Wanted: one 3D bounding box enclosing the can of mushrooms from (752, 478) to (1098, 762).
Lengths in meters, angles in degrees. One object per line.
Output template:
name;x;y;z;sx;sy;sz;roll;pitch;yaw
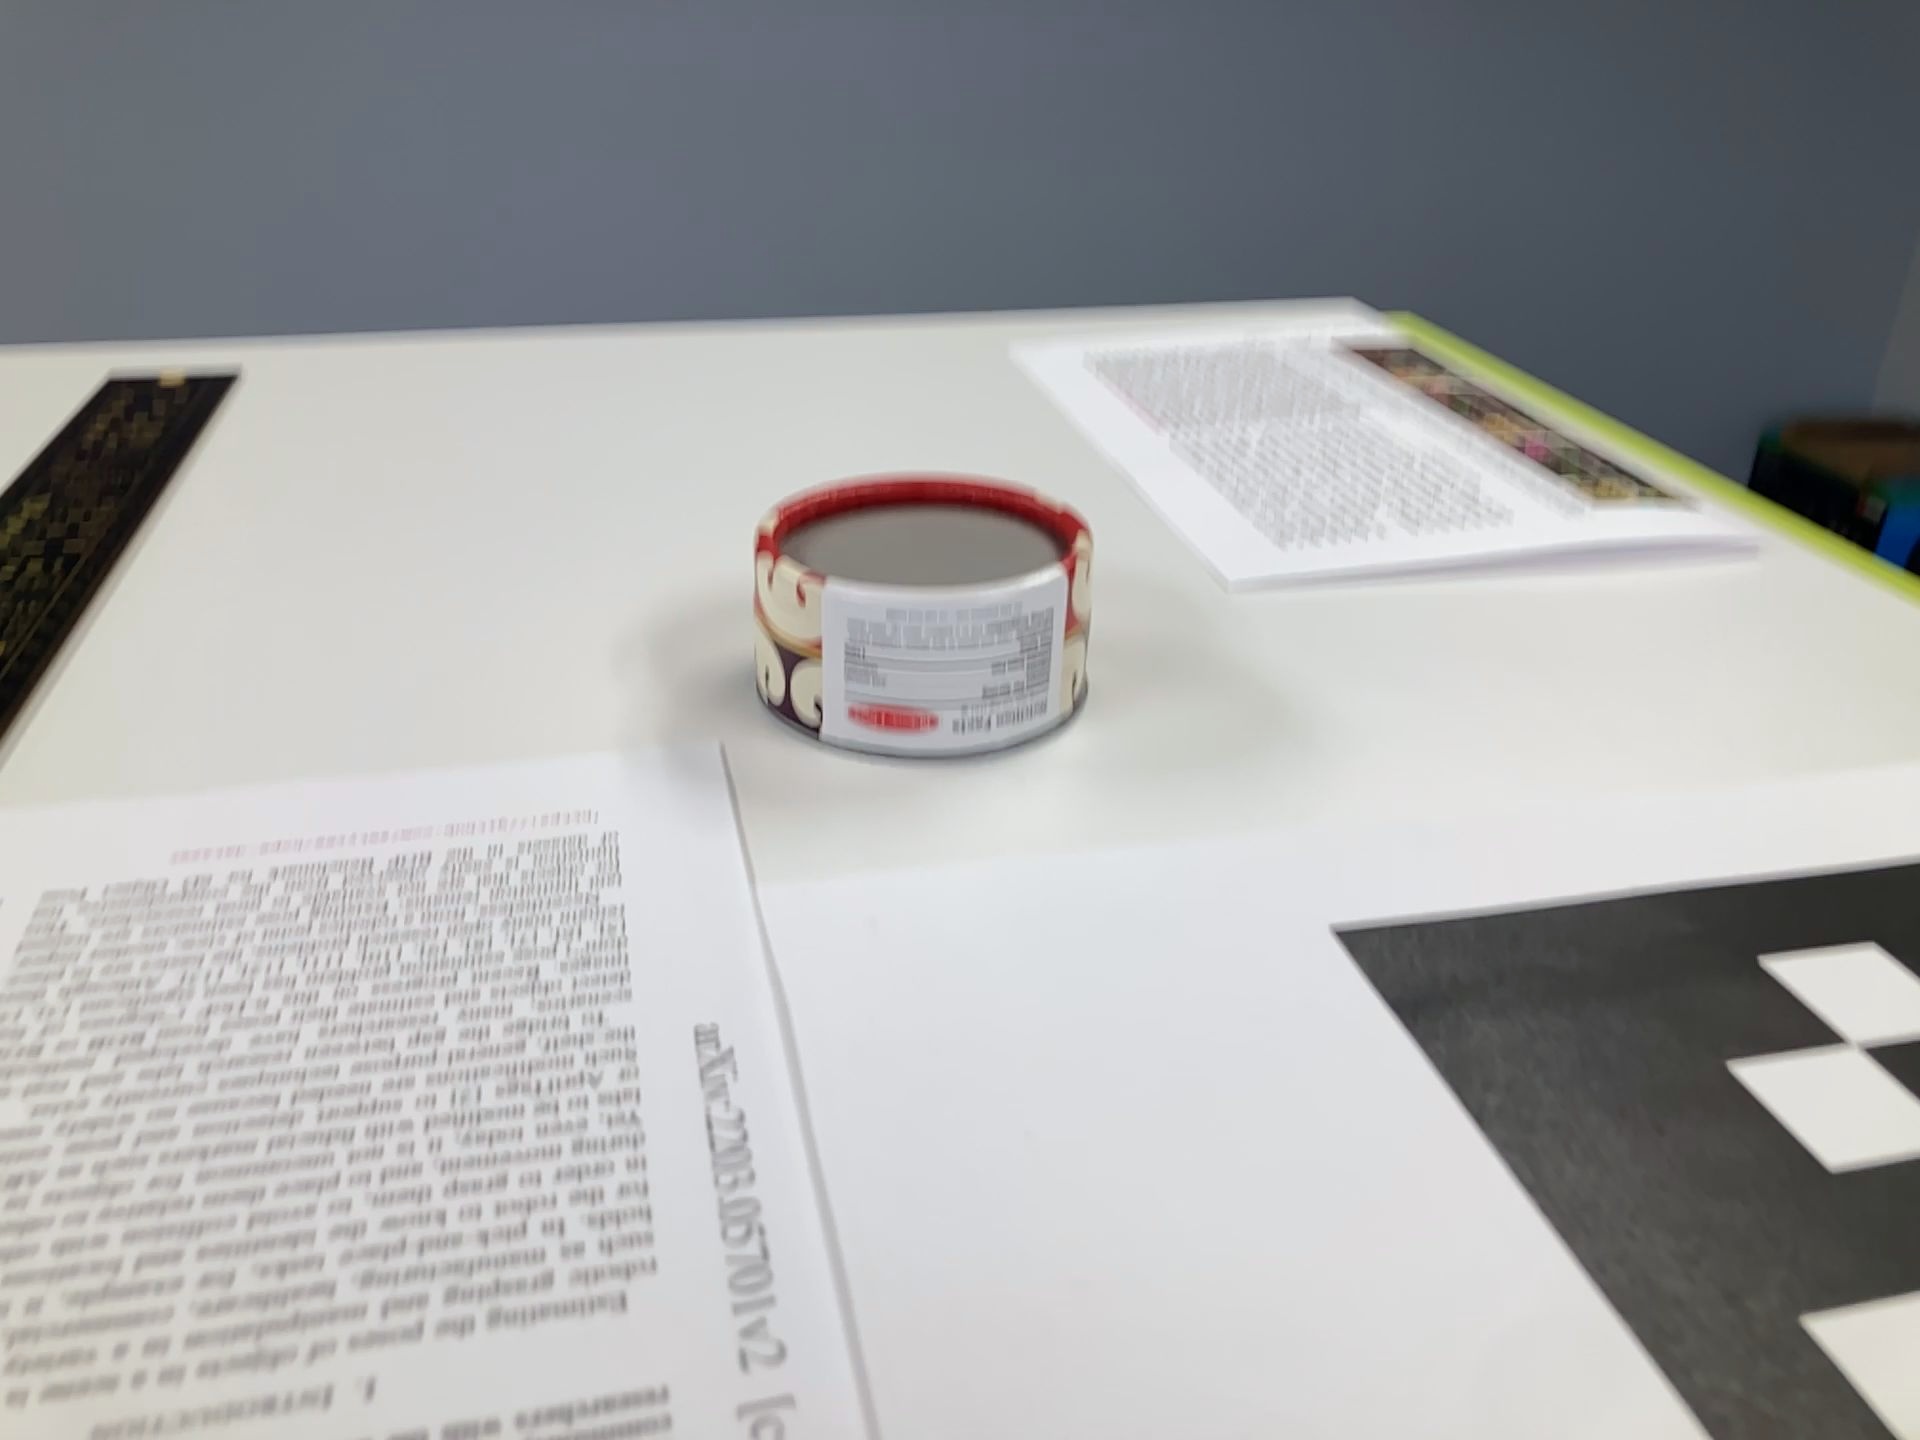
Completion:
can of mushrooms;-0.007;-0.022;0.308;0.071;0.033;0.071;0;27;0
